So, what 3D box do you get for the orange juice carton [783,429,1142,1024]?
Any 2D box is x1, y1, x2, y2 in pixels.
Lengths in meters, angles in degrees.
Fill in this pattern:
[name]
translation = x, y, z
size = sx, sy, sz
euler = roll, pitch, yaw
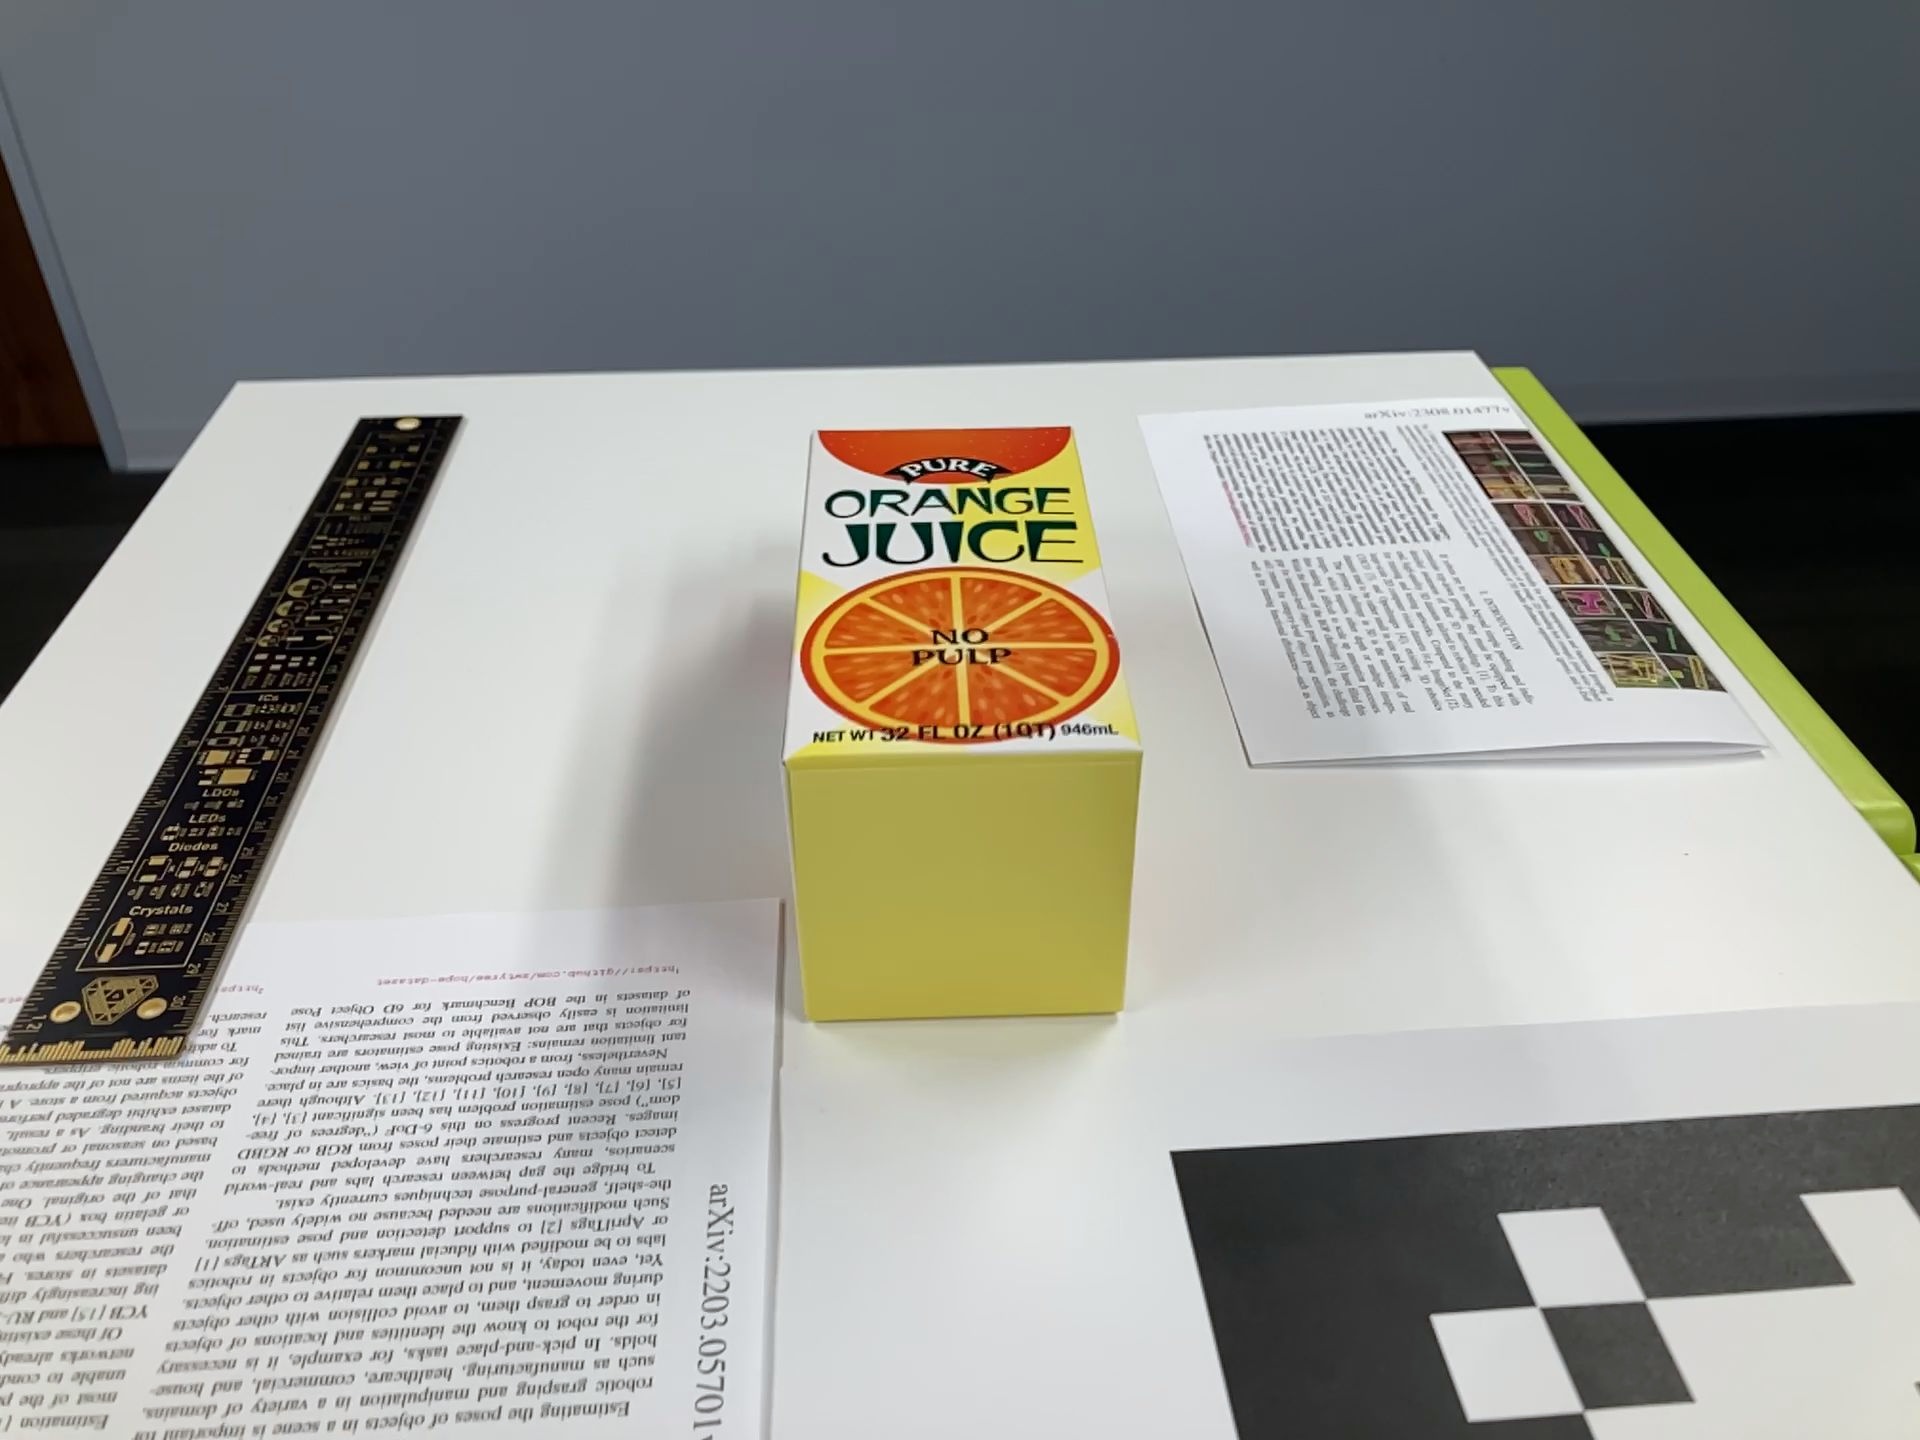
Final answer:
[orange juice carton]
translation = -0.003, -0.018, 0.405
size = 0.072, 0.073, 0.192
euler = -2, 36, -1
